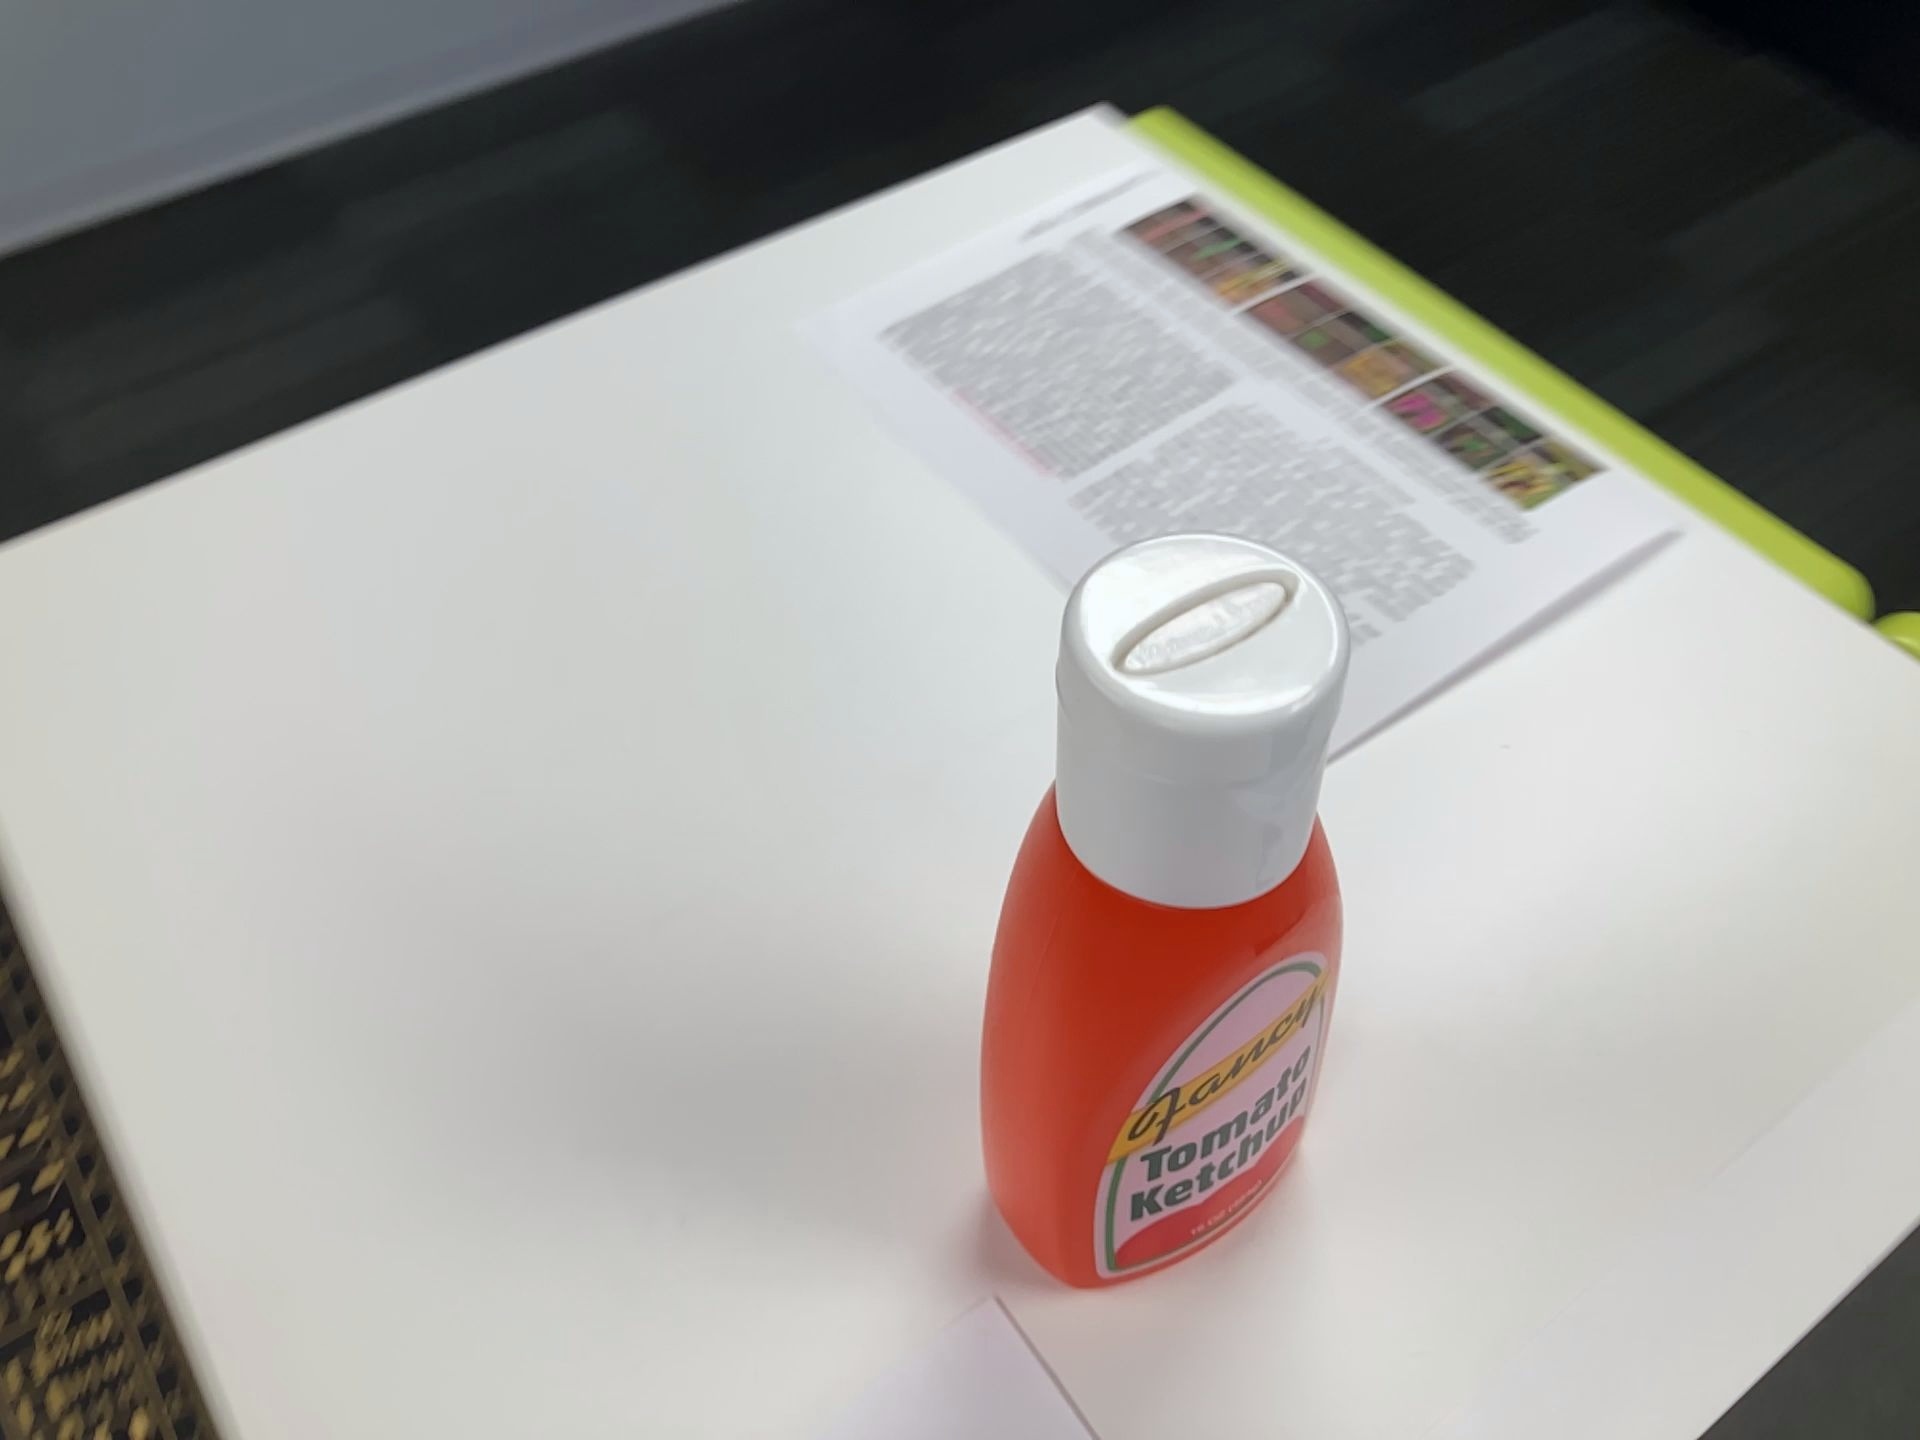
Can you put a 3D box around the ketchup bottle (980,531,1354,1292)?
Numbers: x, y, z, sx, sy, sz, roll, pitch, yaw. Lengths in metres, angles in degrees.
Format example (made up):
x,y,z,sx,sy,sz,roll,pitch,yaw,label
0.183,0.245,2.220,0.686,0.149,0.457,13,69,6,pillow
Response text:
x,y,z,sx,sy,sz,roll,pitch,yaw,label
0.033,0.036,0.255,0.065,0.149,0.043,-28,53,-20,ketchup bottle
